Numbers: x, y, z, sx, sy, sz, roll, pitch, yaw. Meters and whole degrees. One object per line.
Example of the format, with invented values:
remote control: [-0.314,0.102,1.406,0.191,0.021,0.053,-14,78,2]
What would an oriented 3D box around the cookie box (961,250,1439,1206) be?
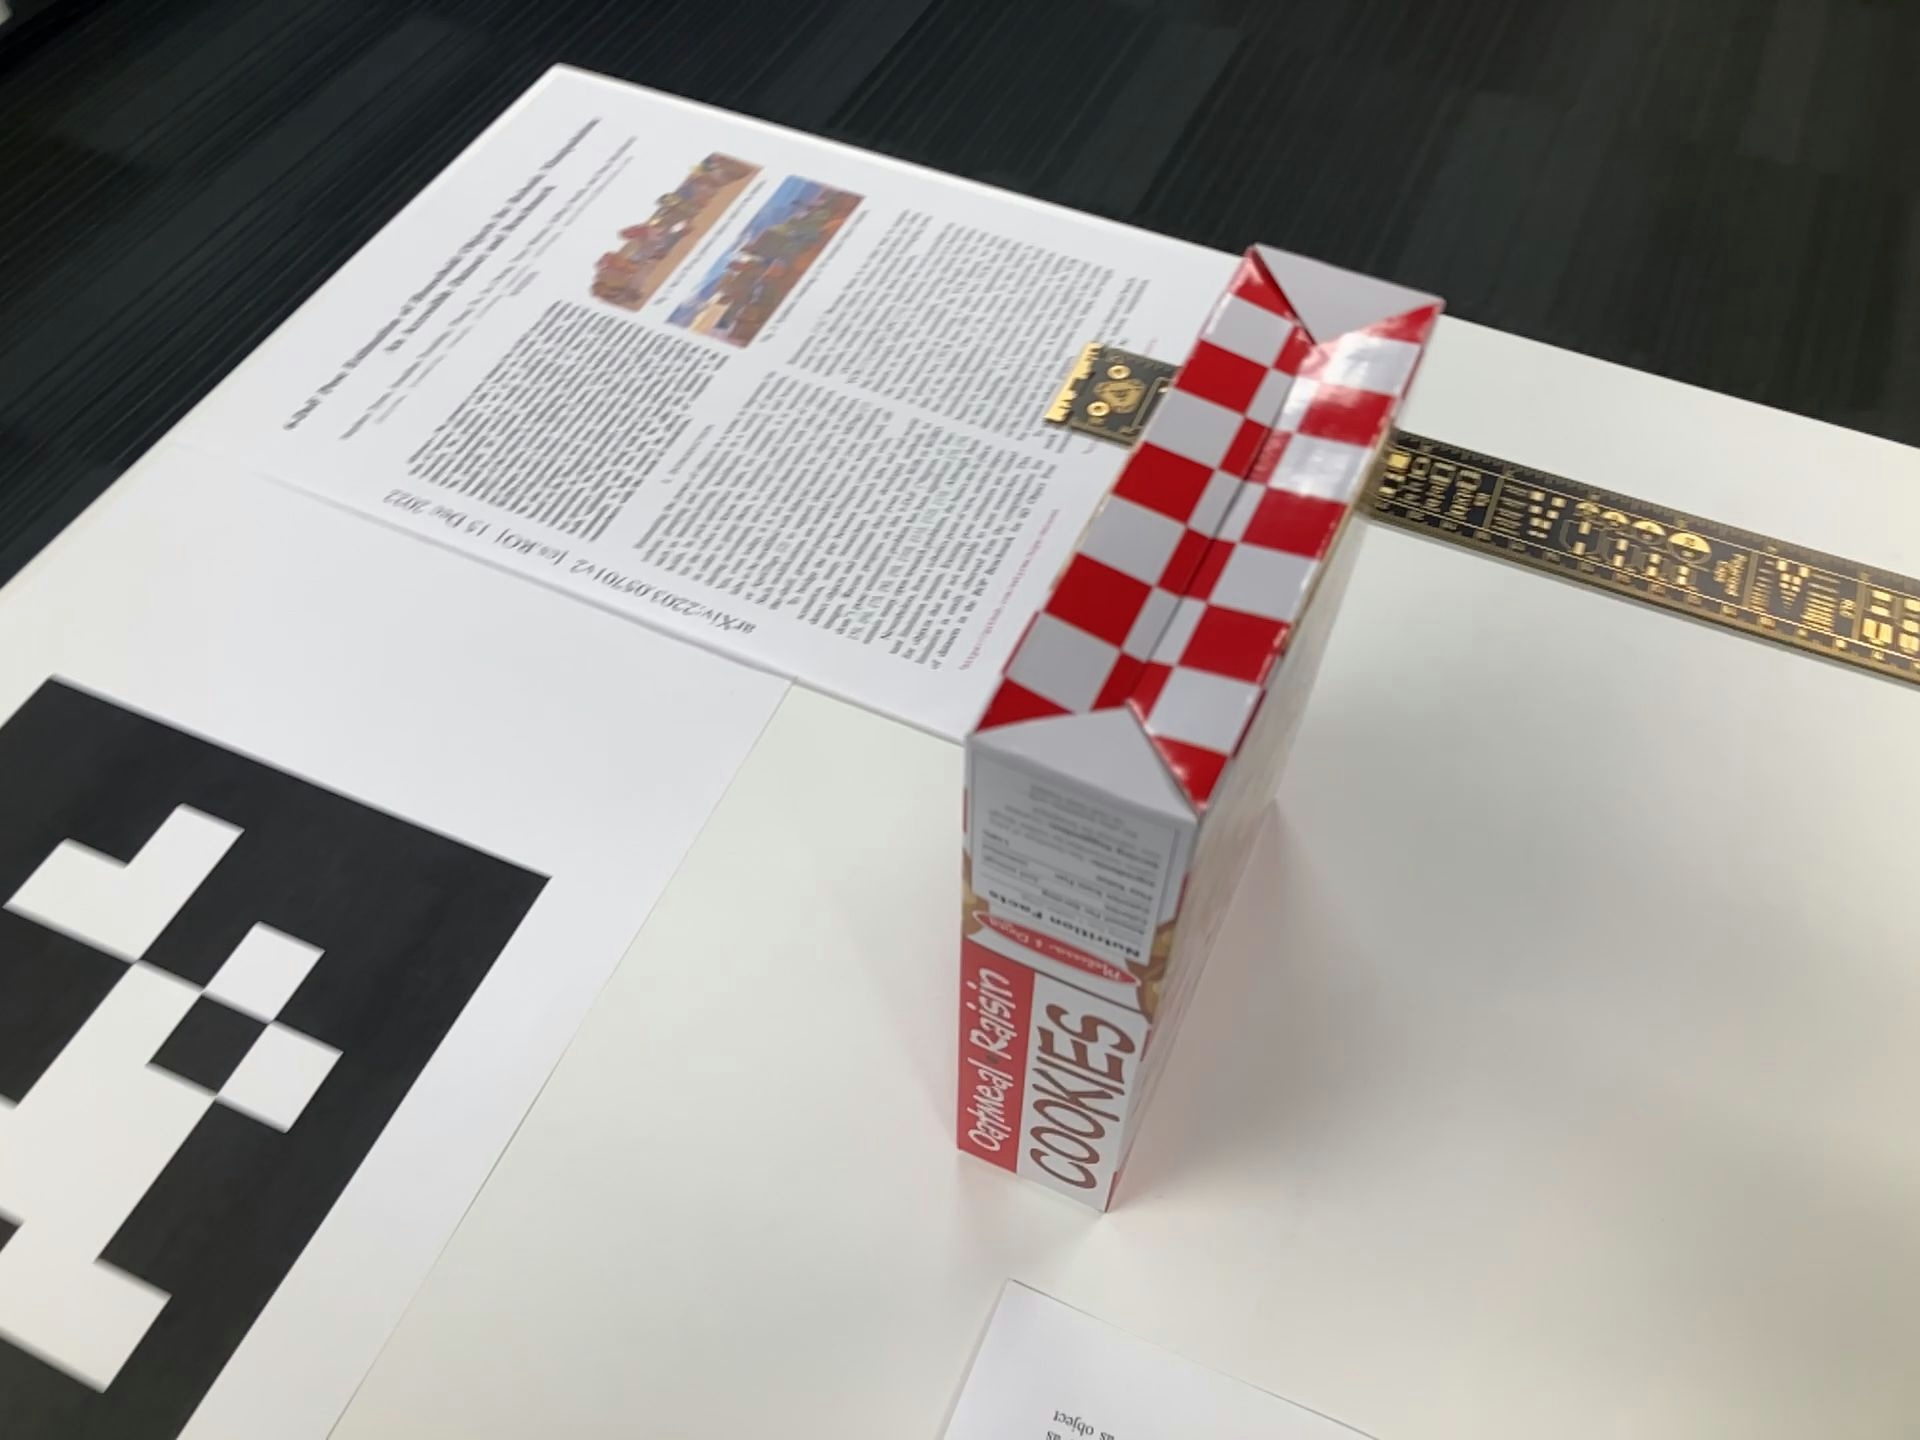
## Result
cookie box: [0.042,0.012,0.324,0.040,0.167,0.123,22,58,14]
